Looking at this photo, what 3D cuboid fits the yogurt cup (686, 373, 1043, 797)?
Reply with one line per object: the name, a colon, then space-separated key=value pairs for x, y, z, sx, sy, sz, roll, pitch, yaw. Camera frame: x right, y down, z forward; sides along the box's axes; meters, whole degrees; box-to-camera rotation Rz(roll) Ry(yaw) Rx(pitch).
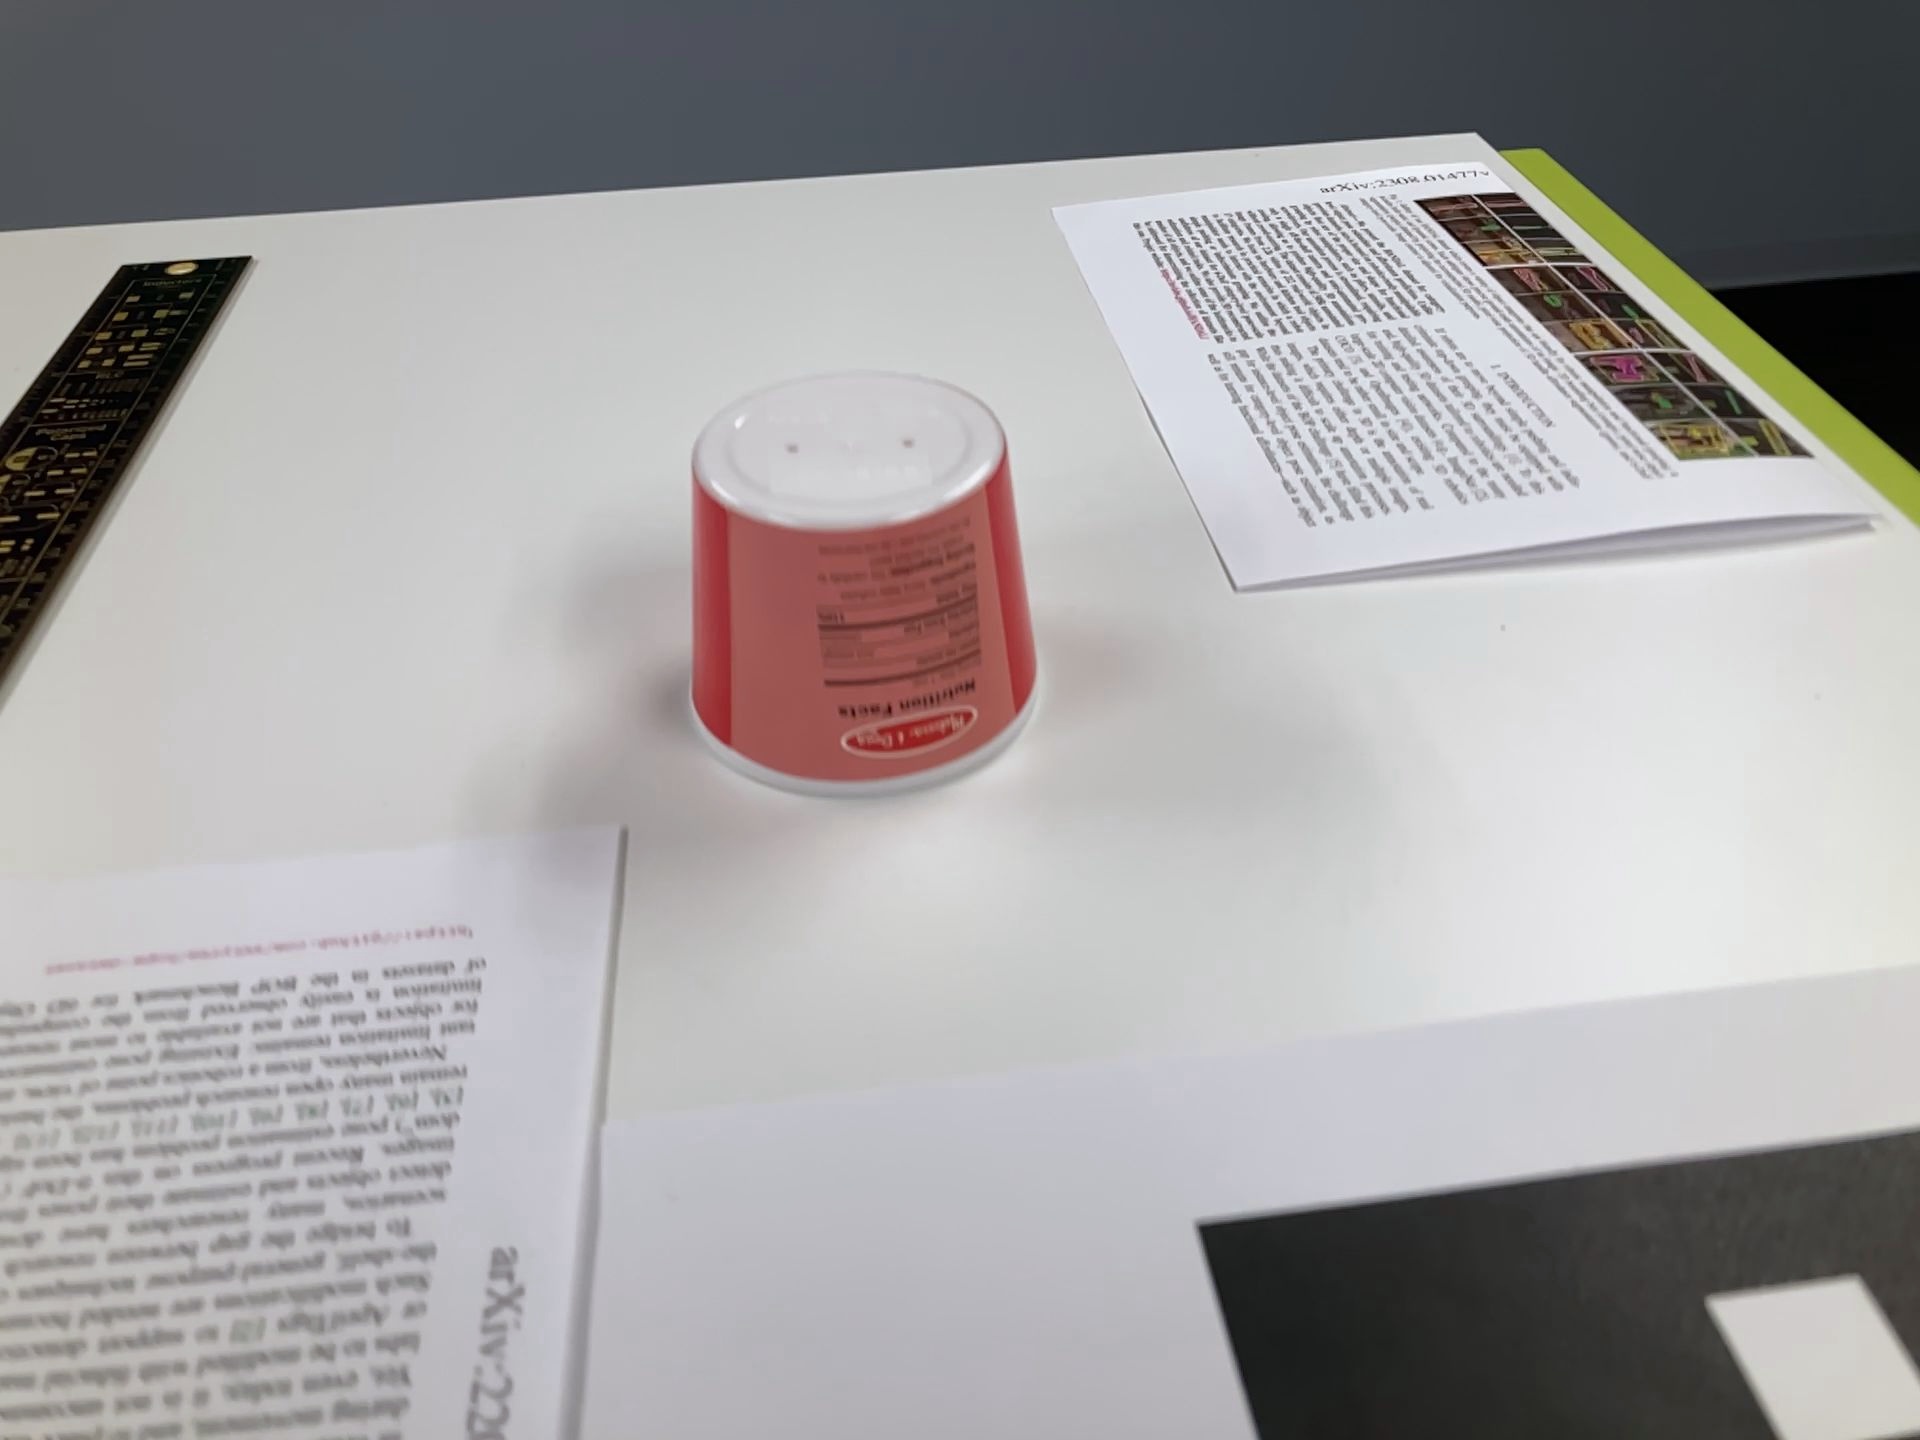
yogurt cup: x=-0.019 y=-0.027 z=0.289 sx=0.072 sy=0.054 sz=0.072 roll=0 pitch=38 yaw=0
